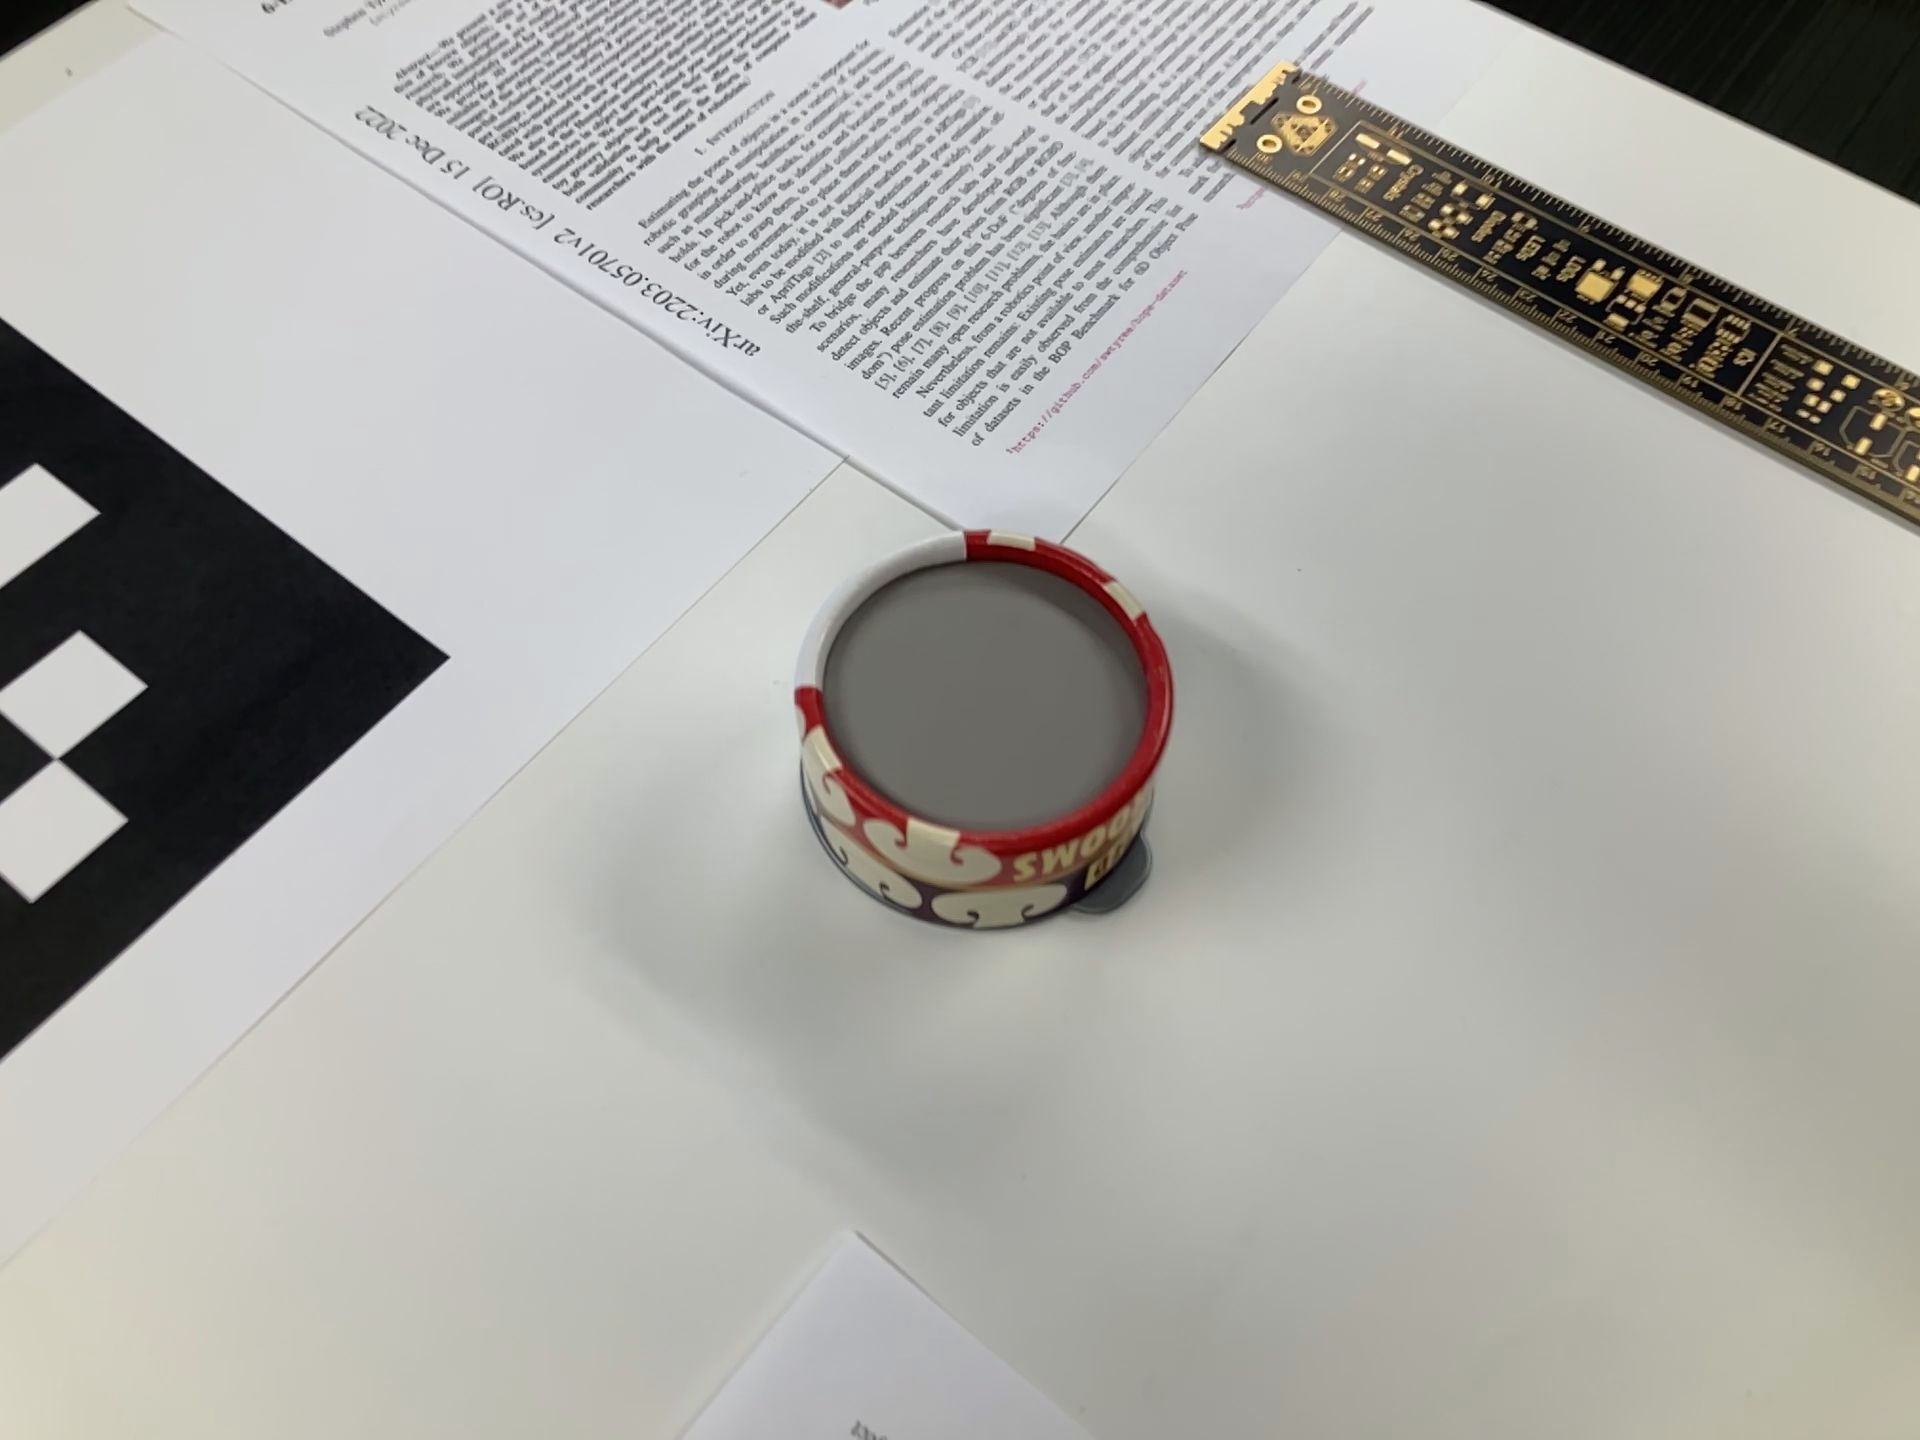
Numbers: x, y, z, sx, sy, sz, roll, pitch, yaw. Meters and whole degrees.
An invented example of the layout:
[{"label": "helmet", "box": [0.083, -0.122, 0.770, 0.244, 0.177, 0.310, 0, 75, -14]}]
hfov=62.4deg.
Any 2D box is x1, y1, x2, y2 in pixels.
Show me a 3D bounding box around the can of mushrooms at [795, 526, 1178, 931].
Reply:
[{"label": "can of mushrooms", "box": [0.006, 0.002, 0.280, 0.071, 0.033, 0.071, 1, 60, -2]}]
